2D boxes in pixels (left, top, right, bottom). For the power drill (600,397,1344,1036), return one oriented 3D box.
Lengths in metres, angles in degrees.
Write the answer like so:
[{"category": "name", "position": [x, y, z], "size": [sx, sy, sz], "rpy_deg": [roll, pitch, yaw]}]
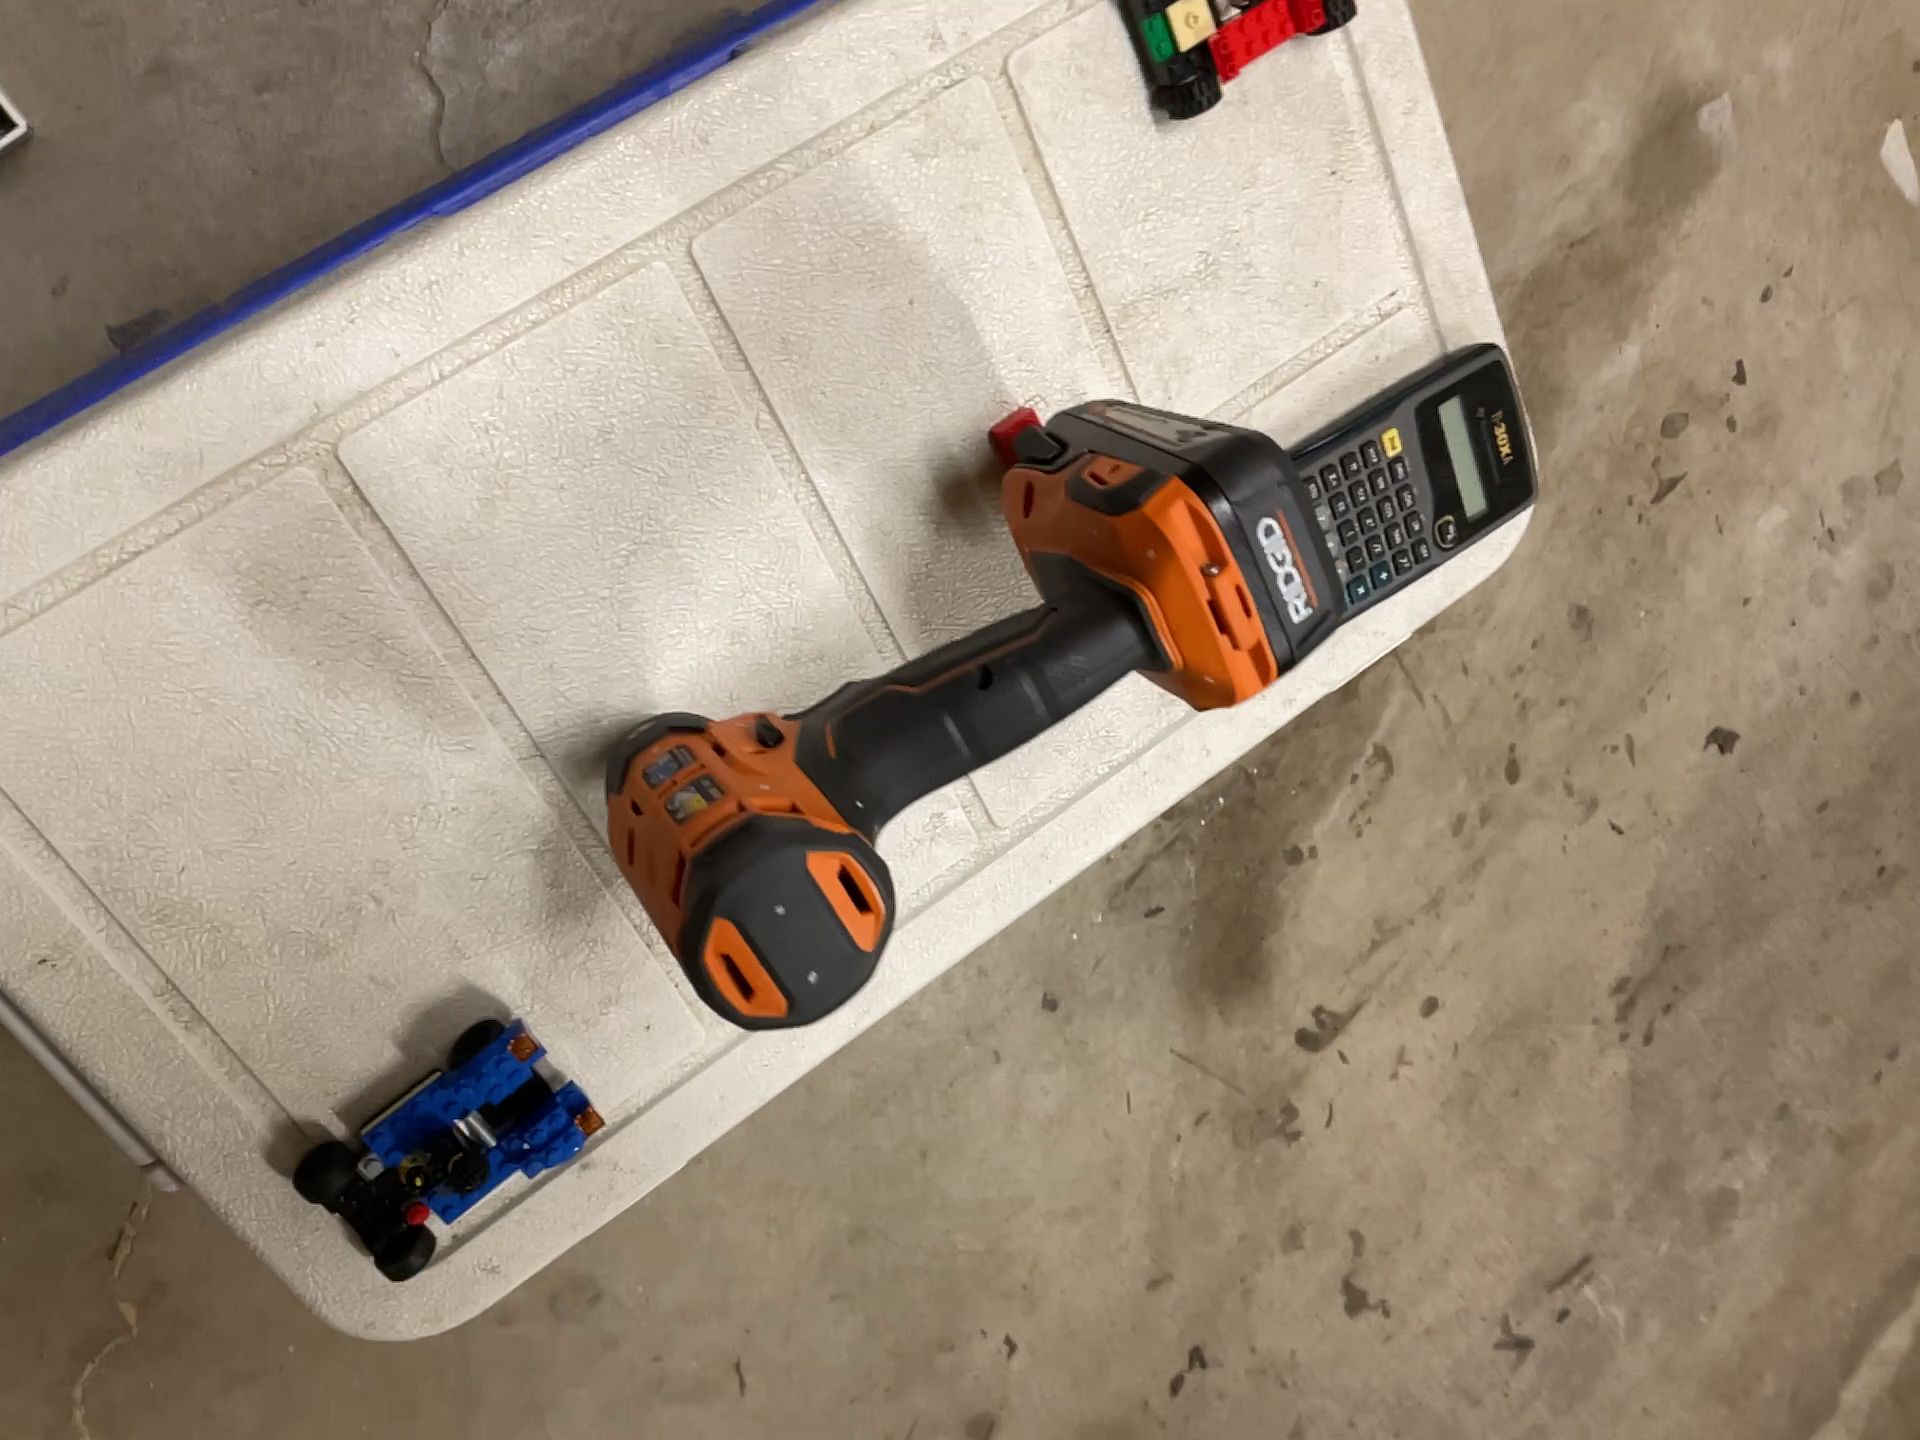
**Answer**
[{"category": "power drill", "position": [-0.012, -0.012, 0.511], "size": [0.226, 0.164, 0.084], "rpy_deg": [-35, 119, -12]}]
